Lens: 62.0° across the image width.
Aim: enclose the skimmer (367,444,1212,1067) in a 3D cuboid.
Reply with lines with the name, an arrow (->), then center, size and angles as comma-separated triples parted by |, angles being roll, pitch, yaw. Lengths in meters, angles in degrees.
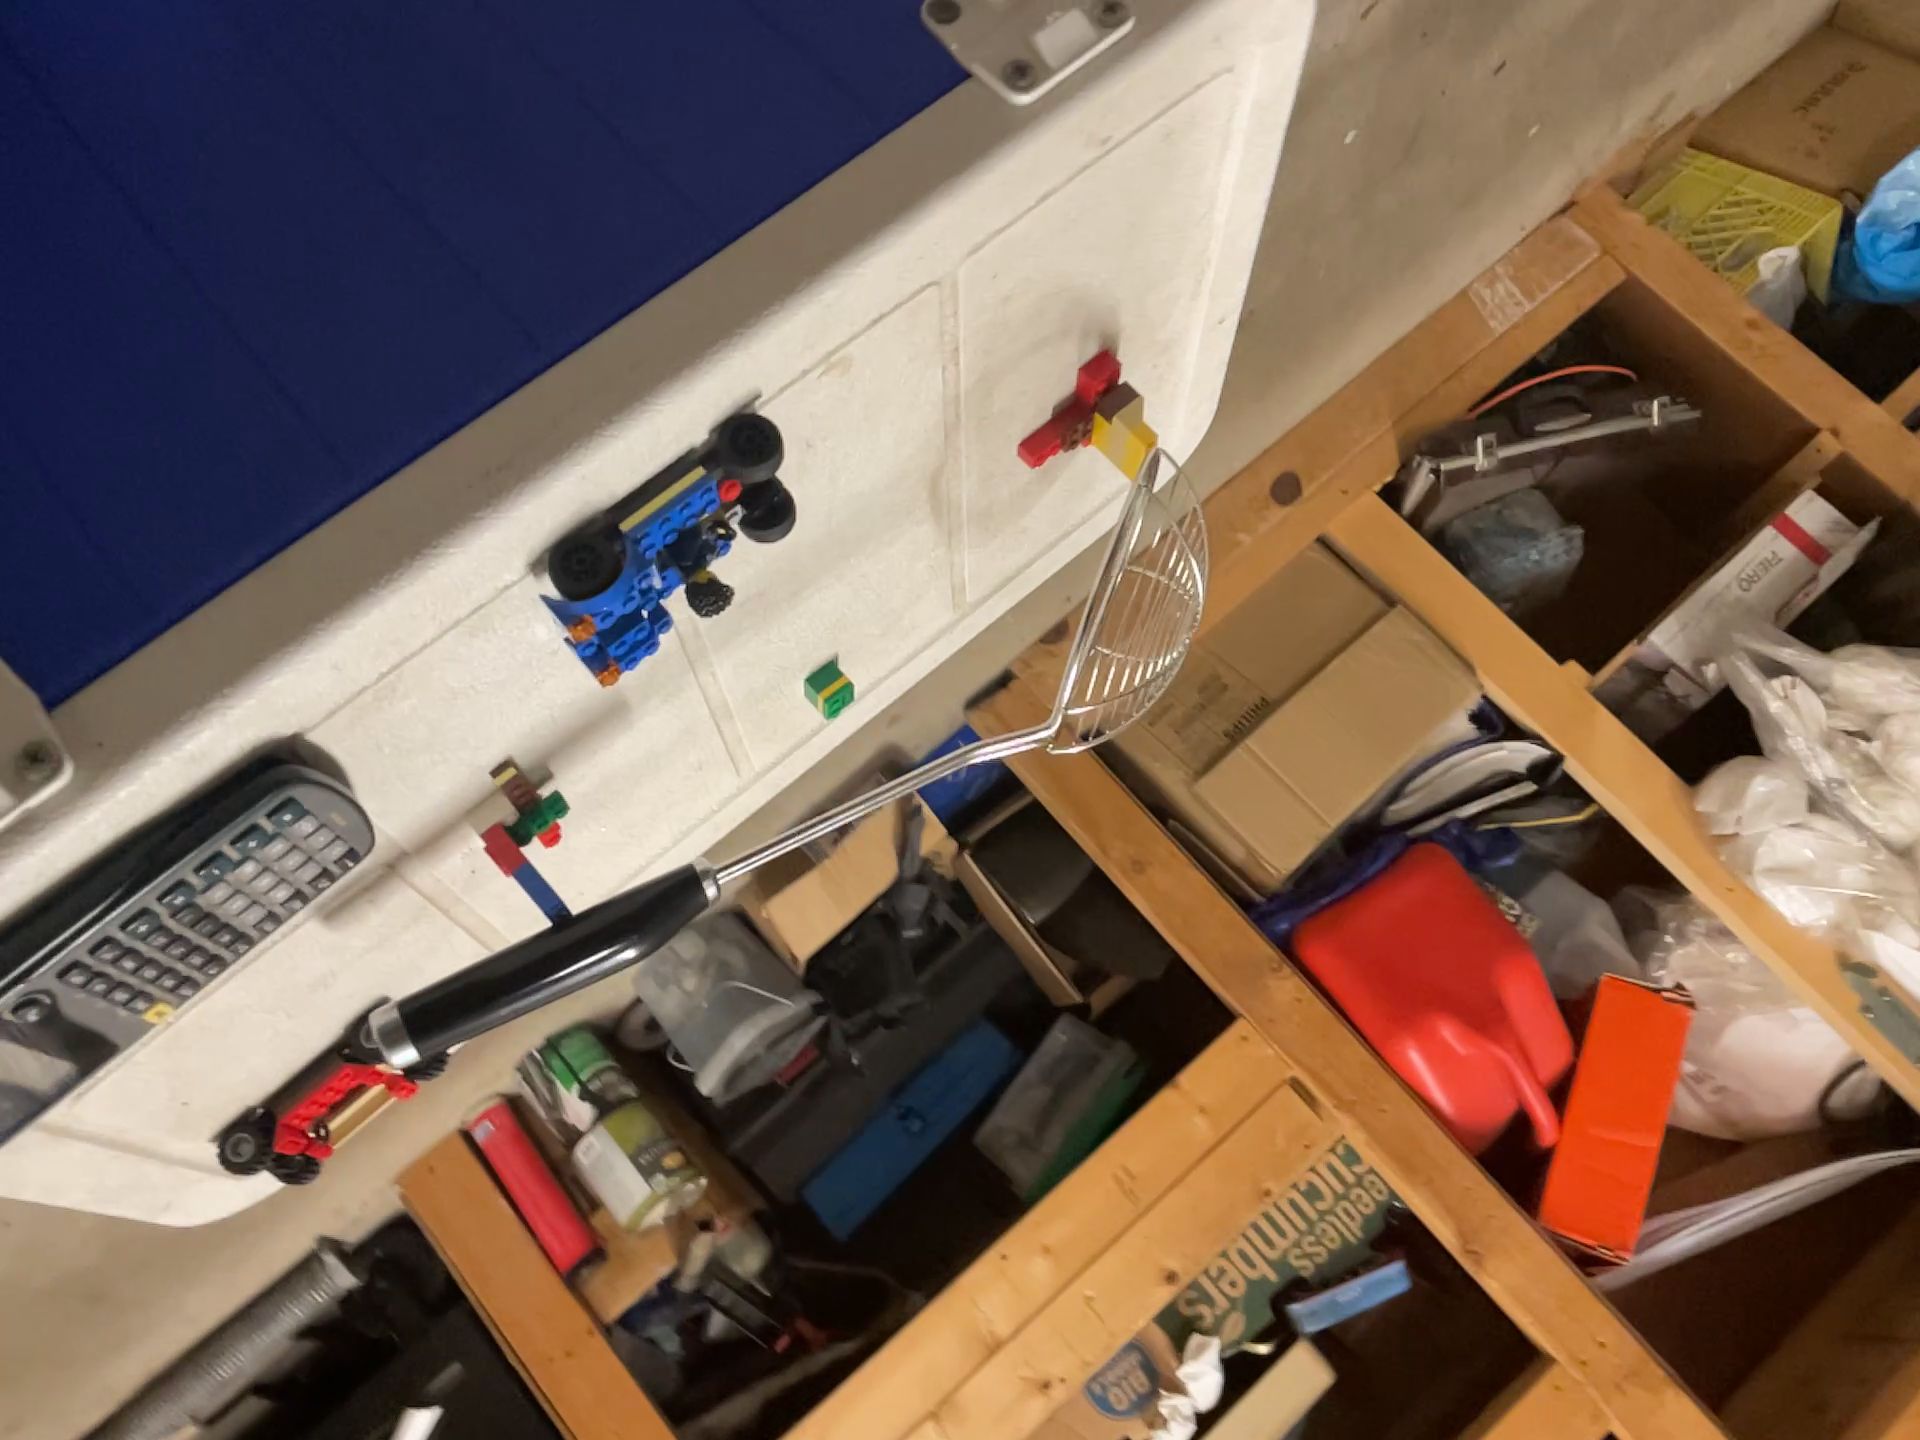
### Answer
skimmer -> -0.055, 0.009, 0.603 | 0.363, 0.090, 0.127 | -26, 159, -15
